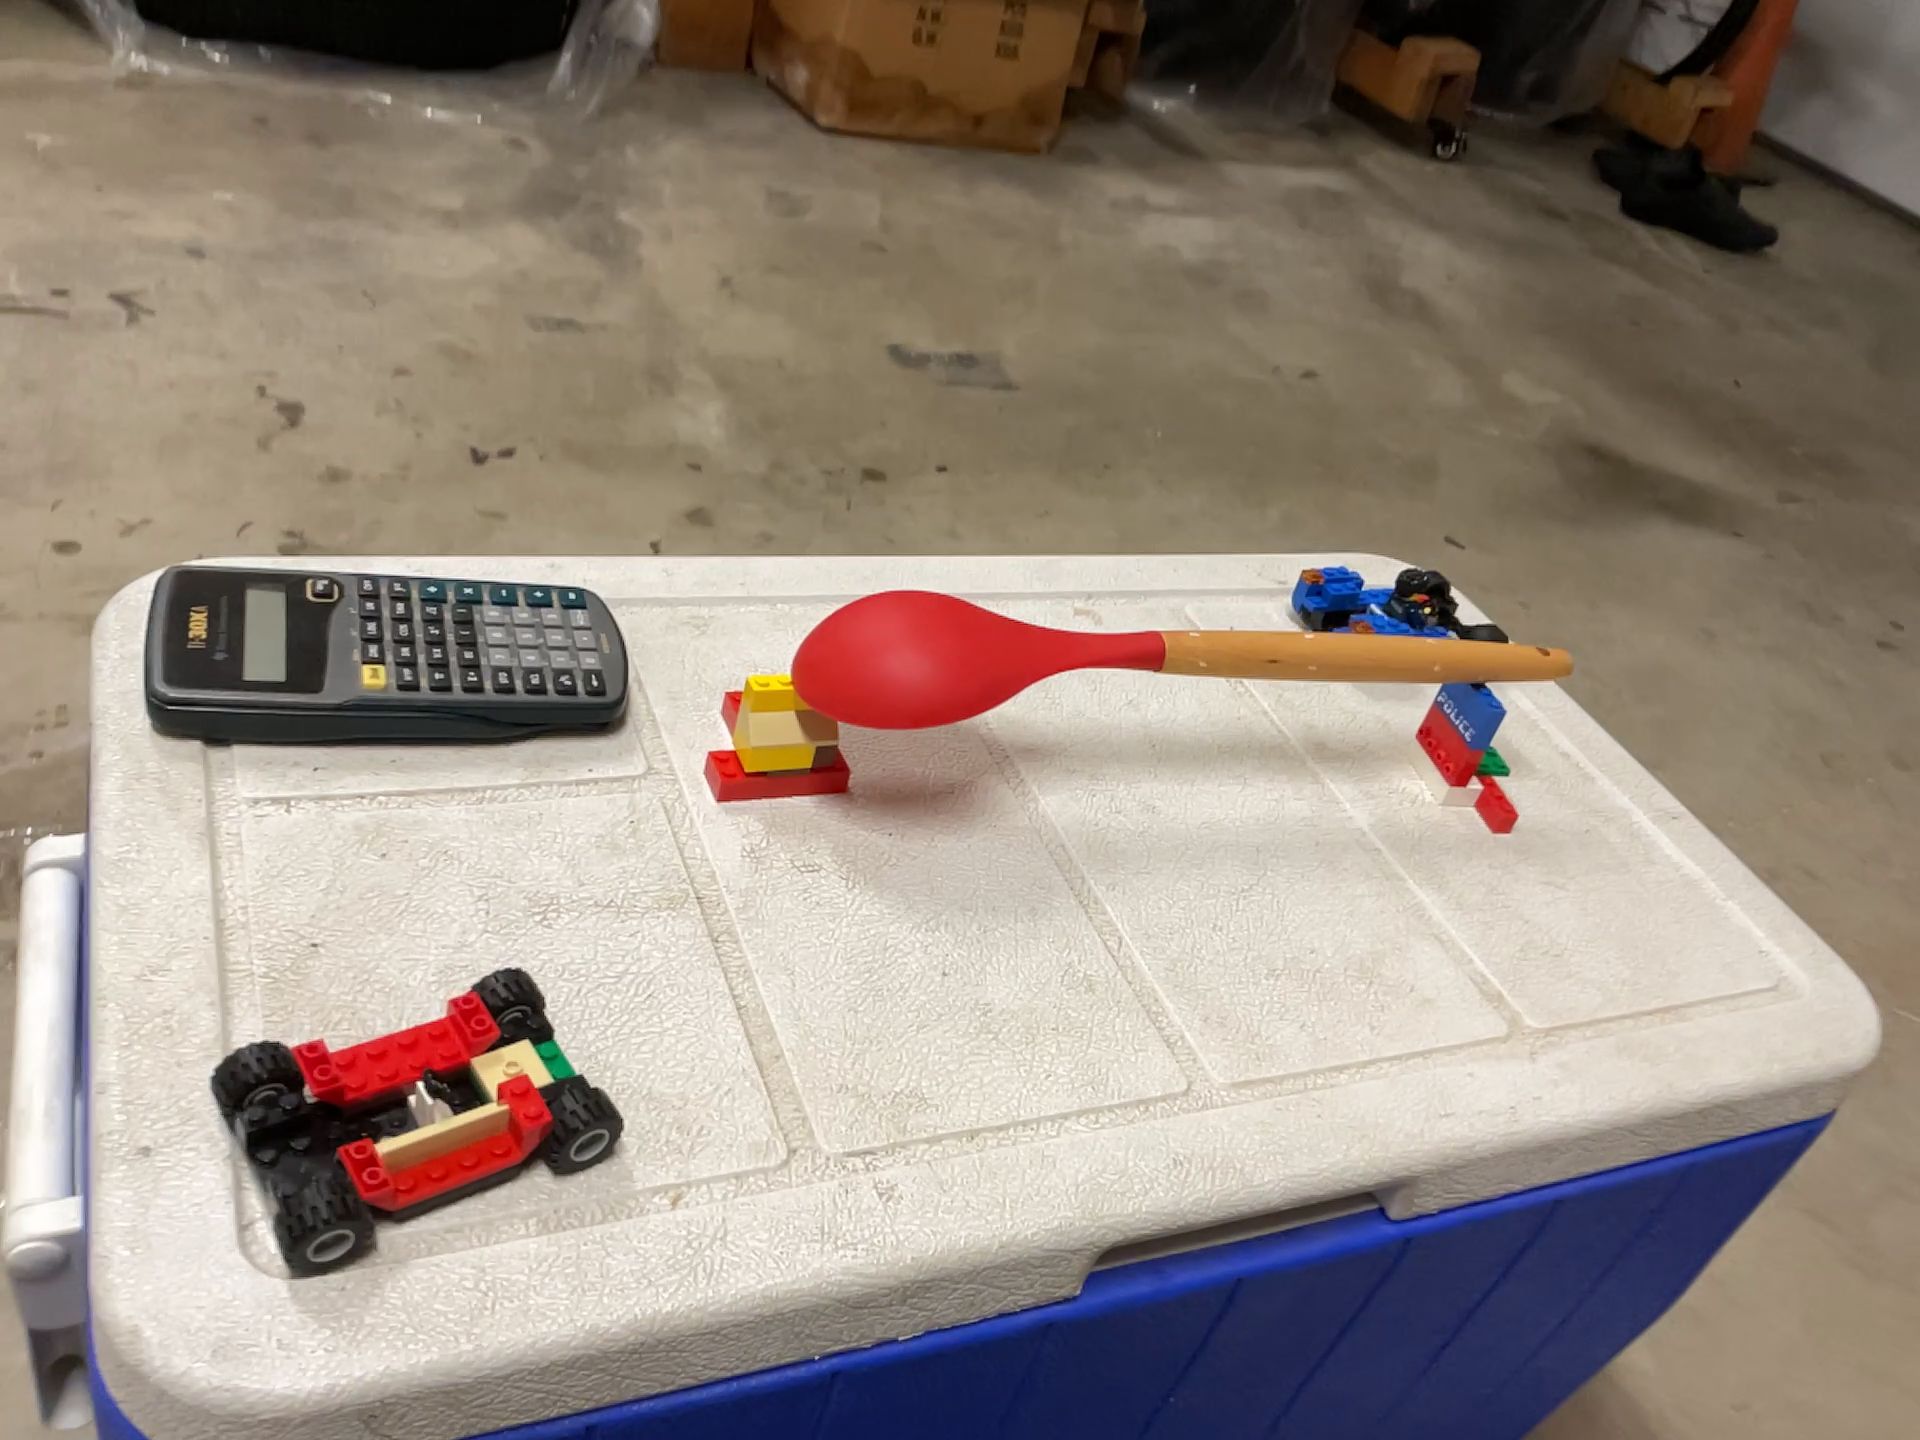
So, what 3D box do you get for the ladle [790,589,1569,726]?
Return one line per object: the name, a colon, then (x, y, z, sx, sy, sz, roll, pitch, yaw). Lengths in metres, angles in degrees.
ladle: (0.094, -0.022, 0.580, 0.315, 0.031, 0.069, 1, 37, -22)
